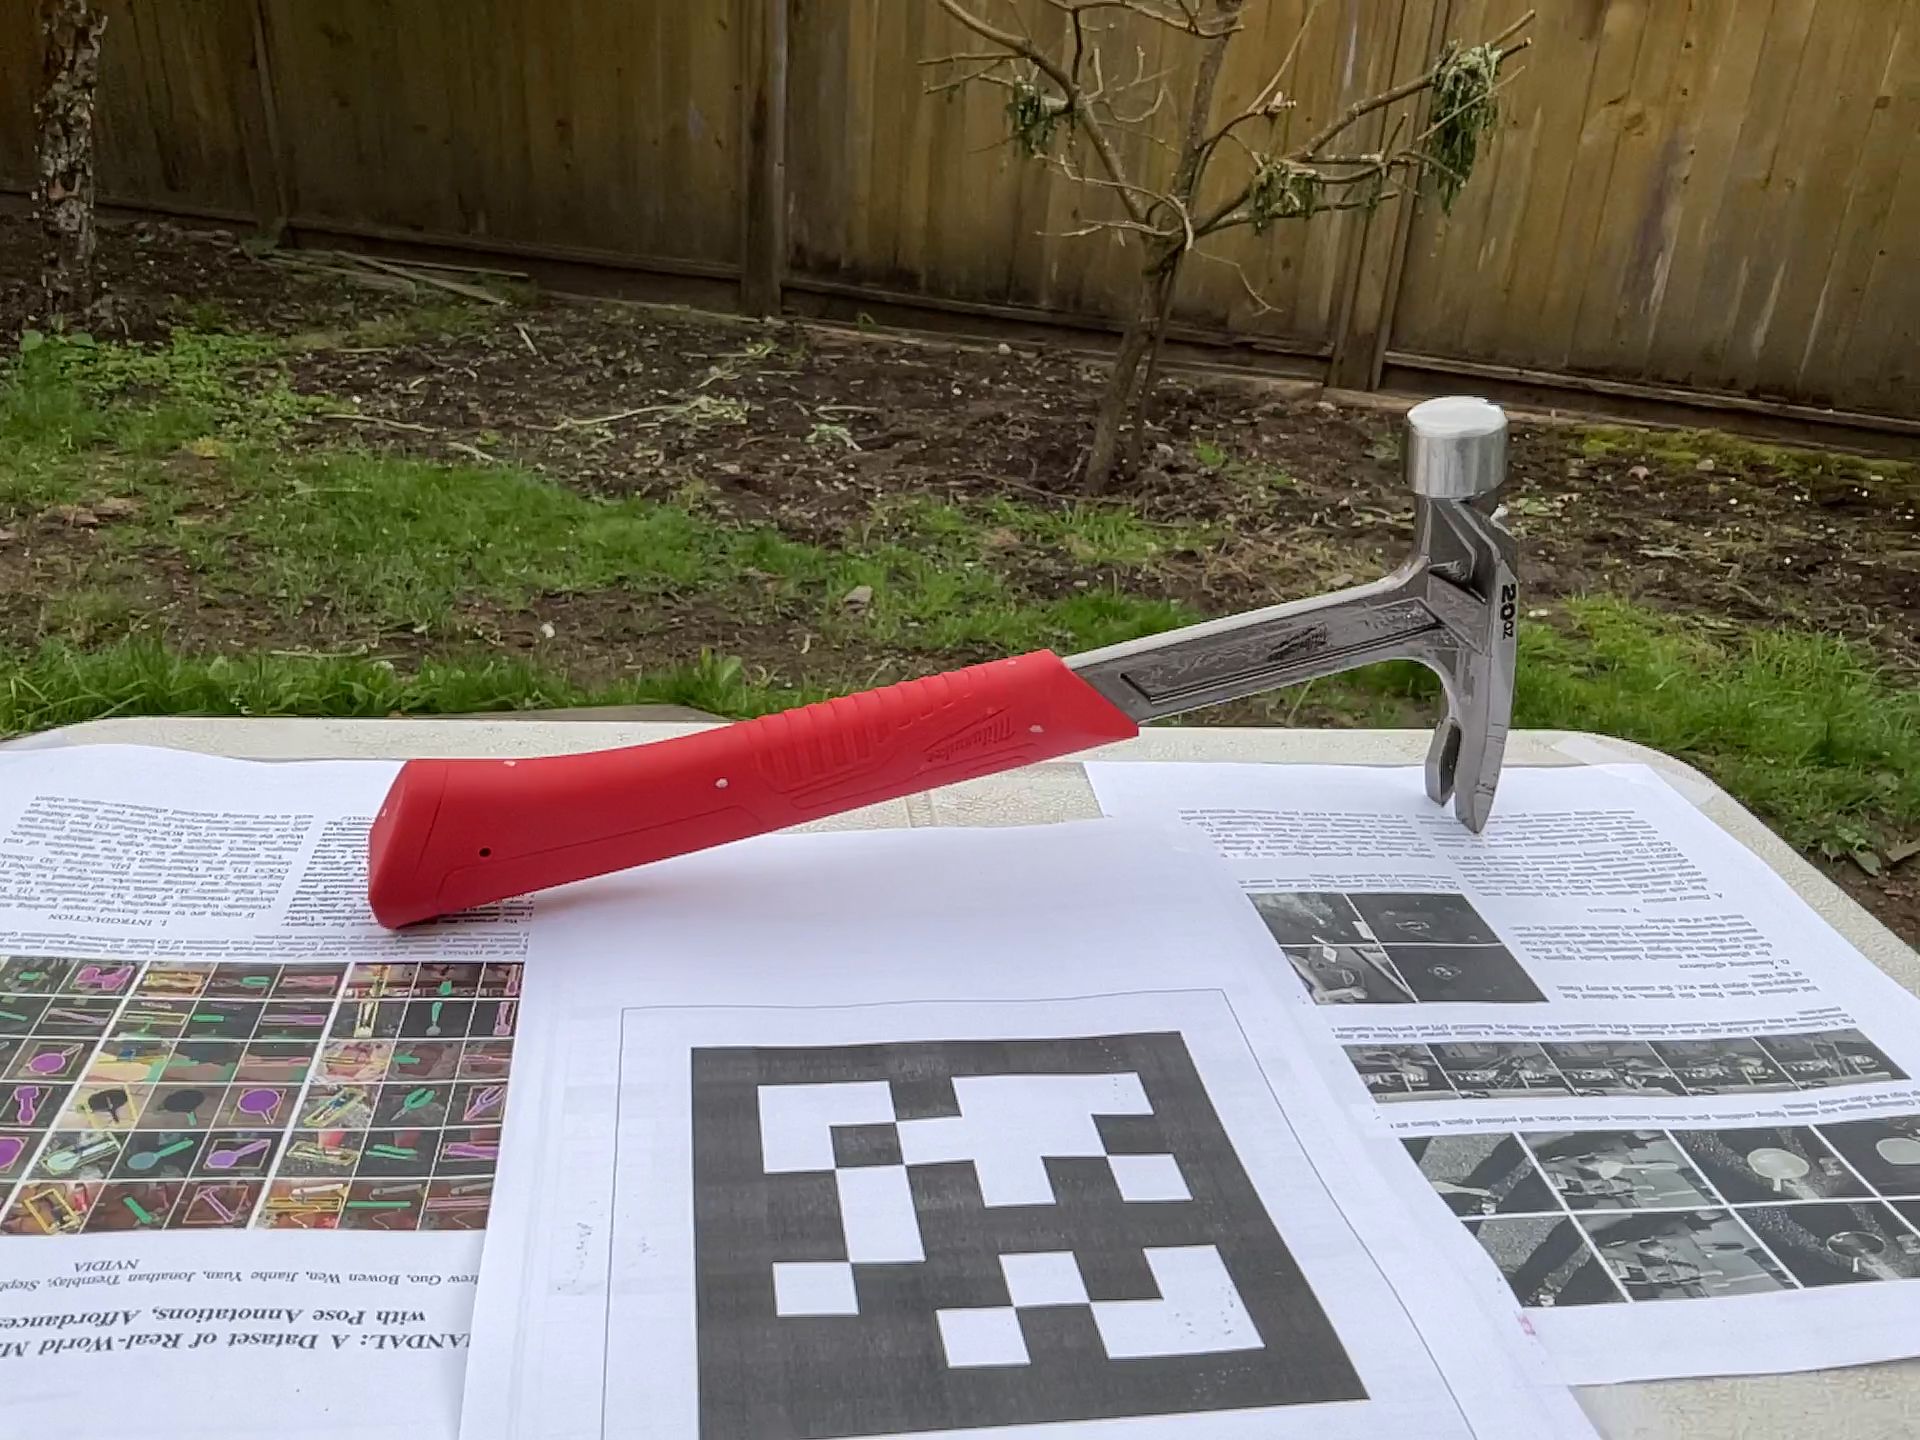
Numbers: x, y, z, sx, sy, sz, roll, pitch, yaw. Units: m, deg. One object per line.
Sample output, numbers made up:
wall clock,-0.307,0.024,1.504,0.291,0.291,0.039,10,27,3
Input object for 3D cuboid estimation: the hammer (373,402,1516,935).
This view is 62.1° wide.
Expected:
hammer,0.007,0.010,0.490,0.359,0.149,0.037,-14,30,-13
